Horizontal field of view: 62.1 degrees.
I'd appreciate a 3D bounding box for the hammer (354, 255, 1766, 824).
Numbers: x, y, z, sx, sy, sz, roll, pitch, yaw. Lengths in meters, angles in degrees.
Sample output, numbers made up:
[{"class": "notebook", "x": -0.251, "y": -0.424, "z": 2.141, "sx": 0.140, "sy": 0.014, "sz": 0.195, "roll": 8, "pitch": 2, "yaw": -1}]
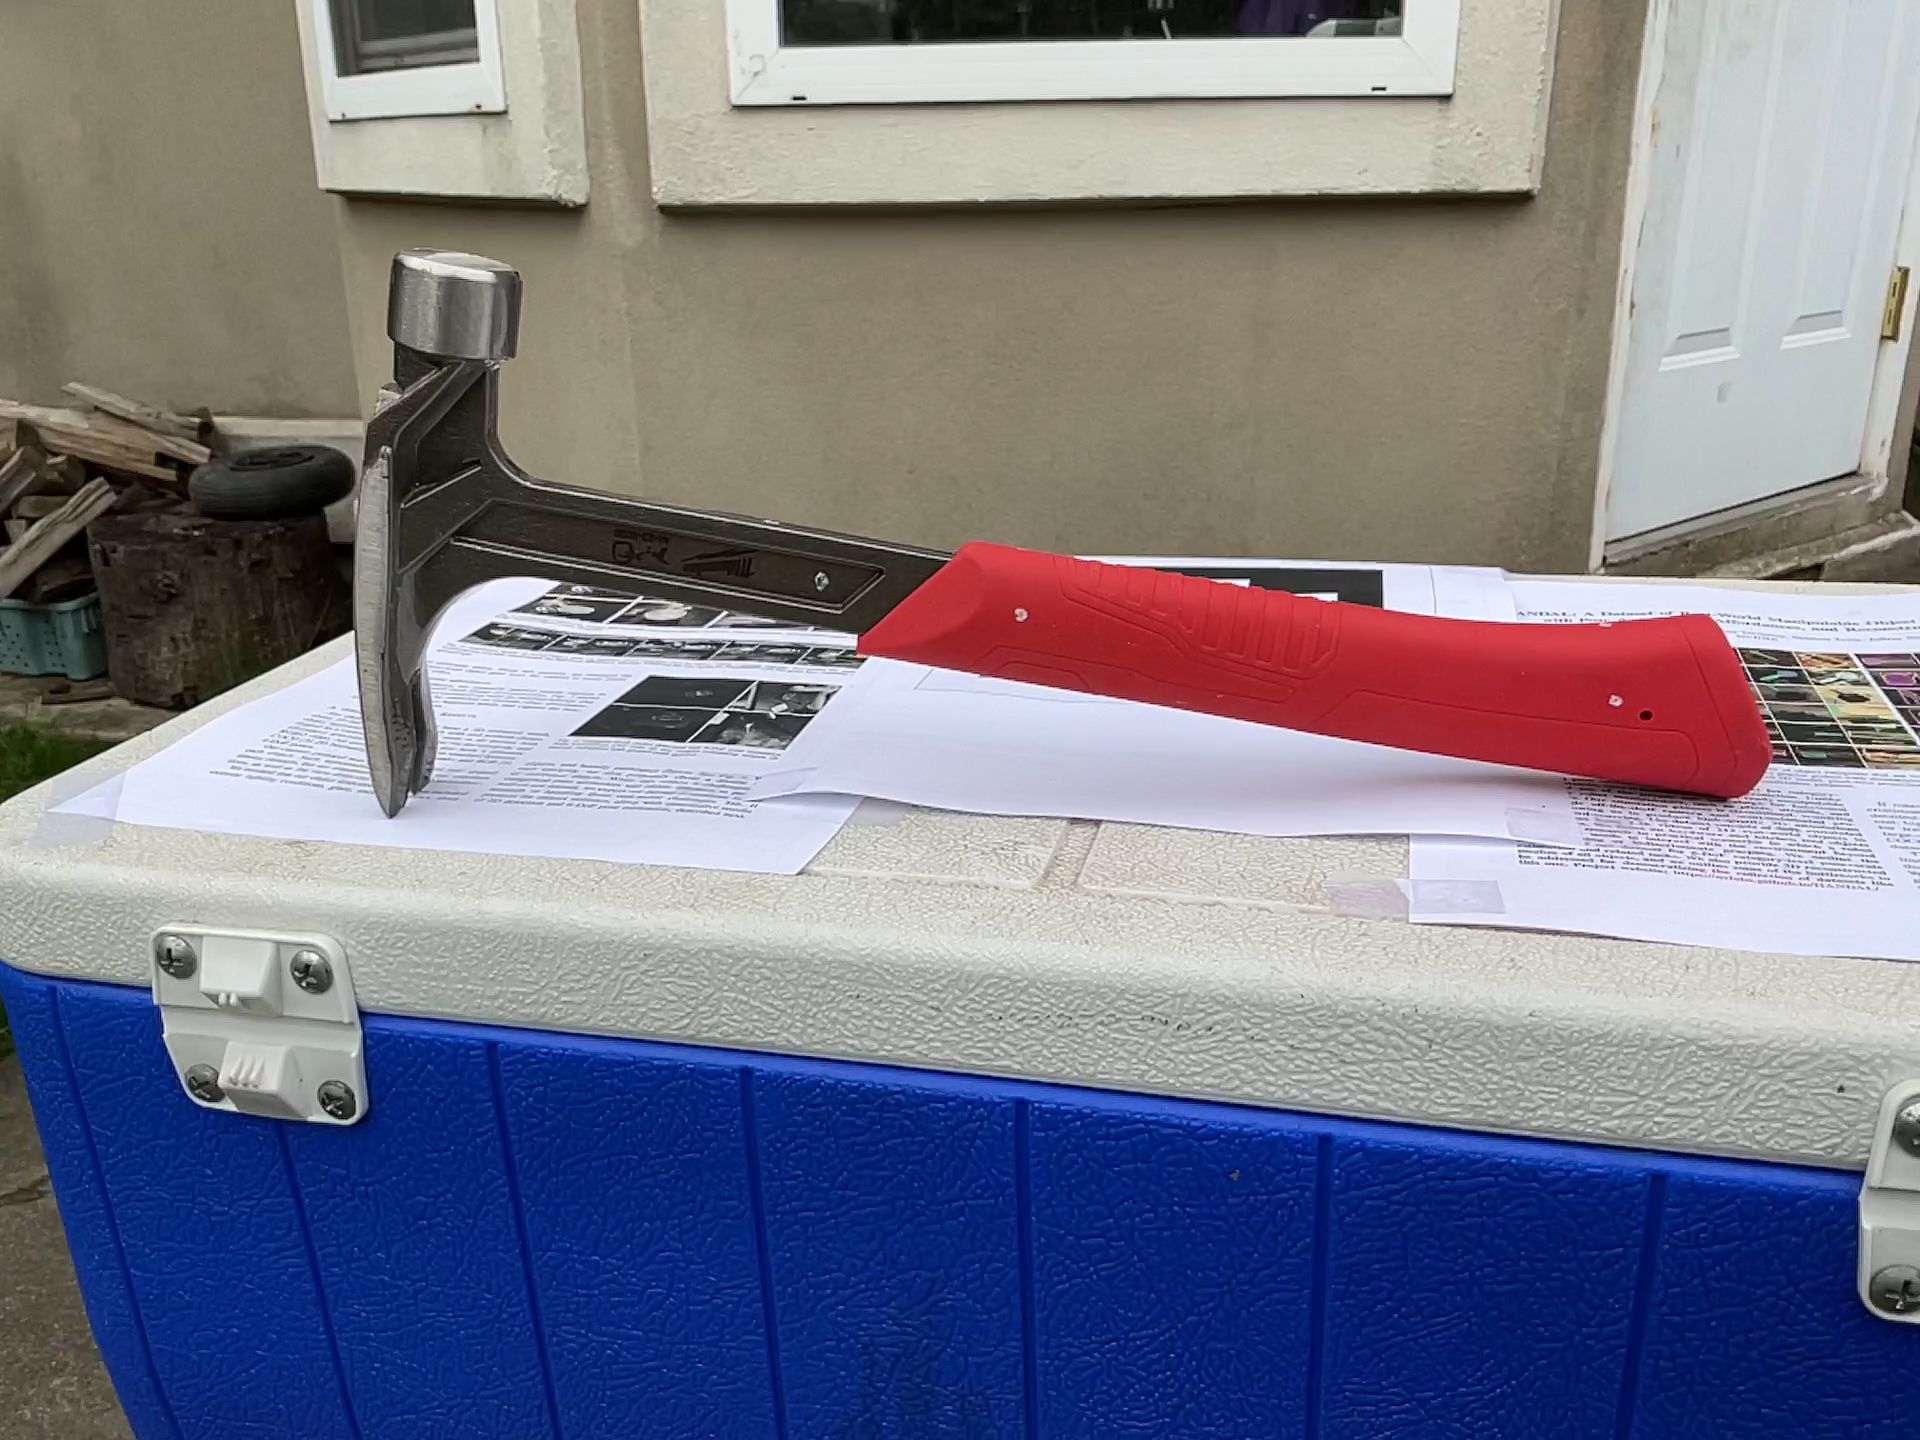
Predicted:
[{"class": "hammer", "x": 0.022, "y": -0.015, "z": 0.417, "sx": 0.359, "sy": 0.149, "sz": 0.037, "roll": 10, "pitch": 20, "yaw": 1}]
